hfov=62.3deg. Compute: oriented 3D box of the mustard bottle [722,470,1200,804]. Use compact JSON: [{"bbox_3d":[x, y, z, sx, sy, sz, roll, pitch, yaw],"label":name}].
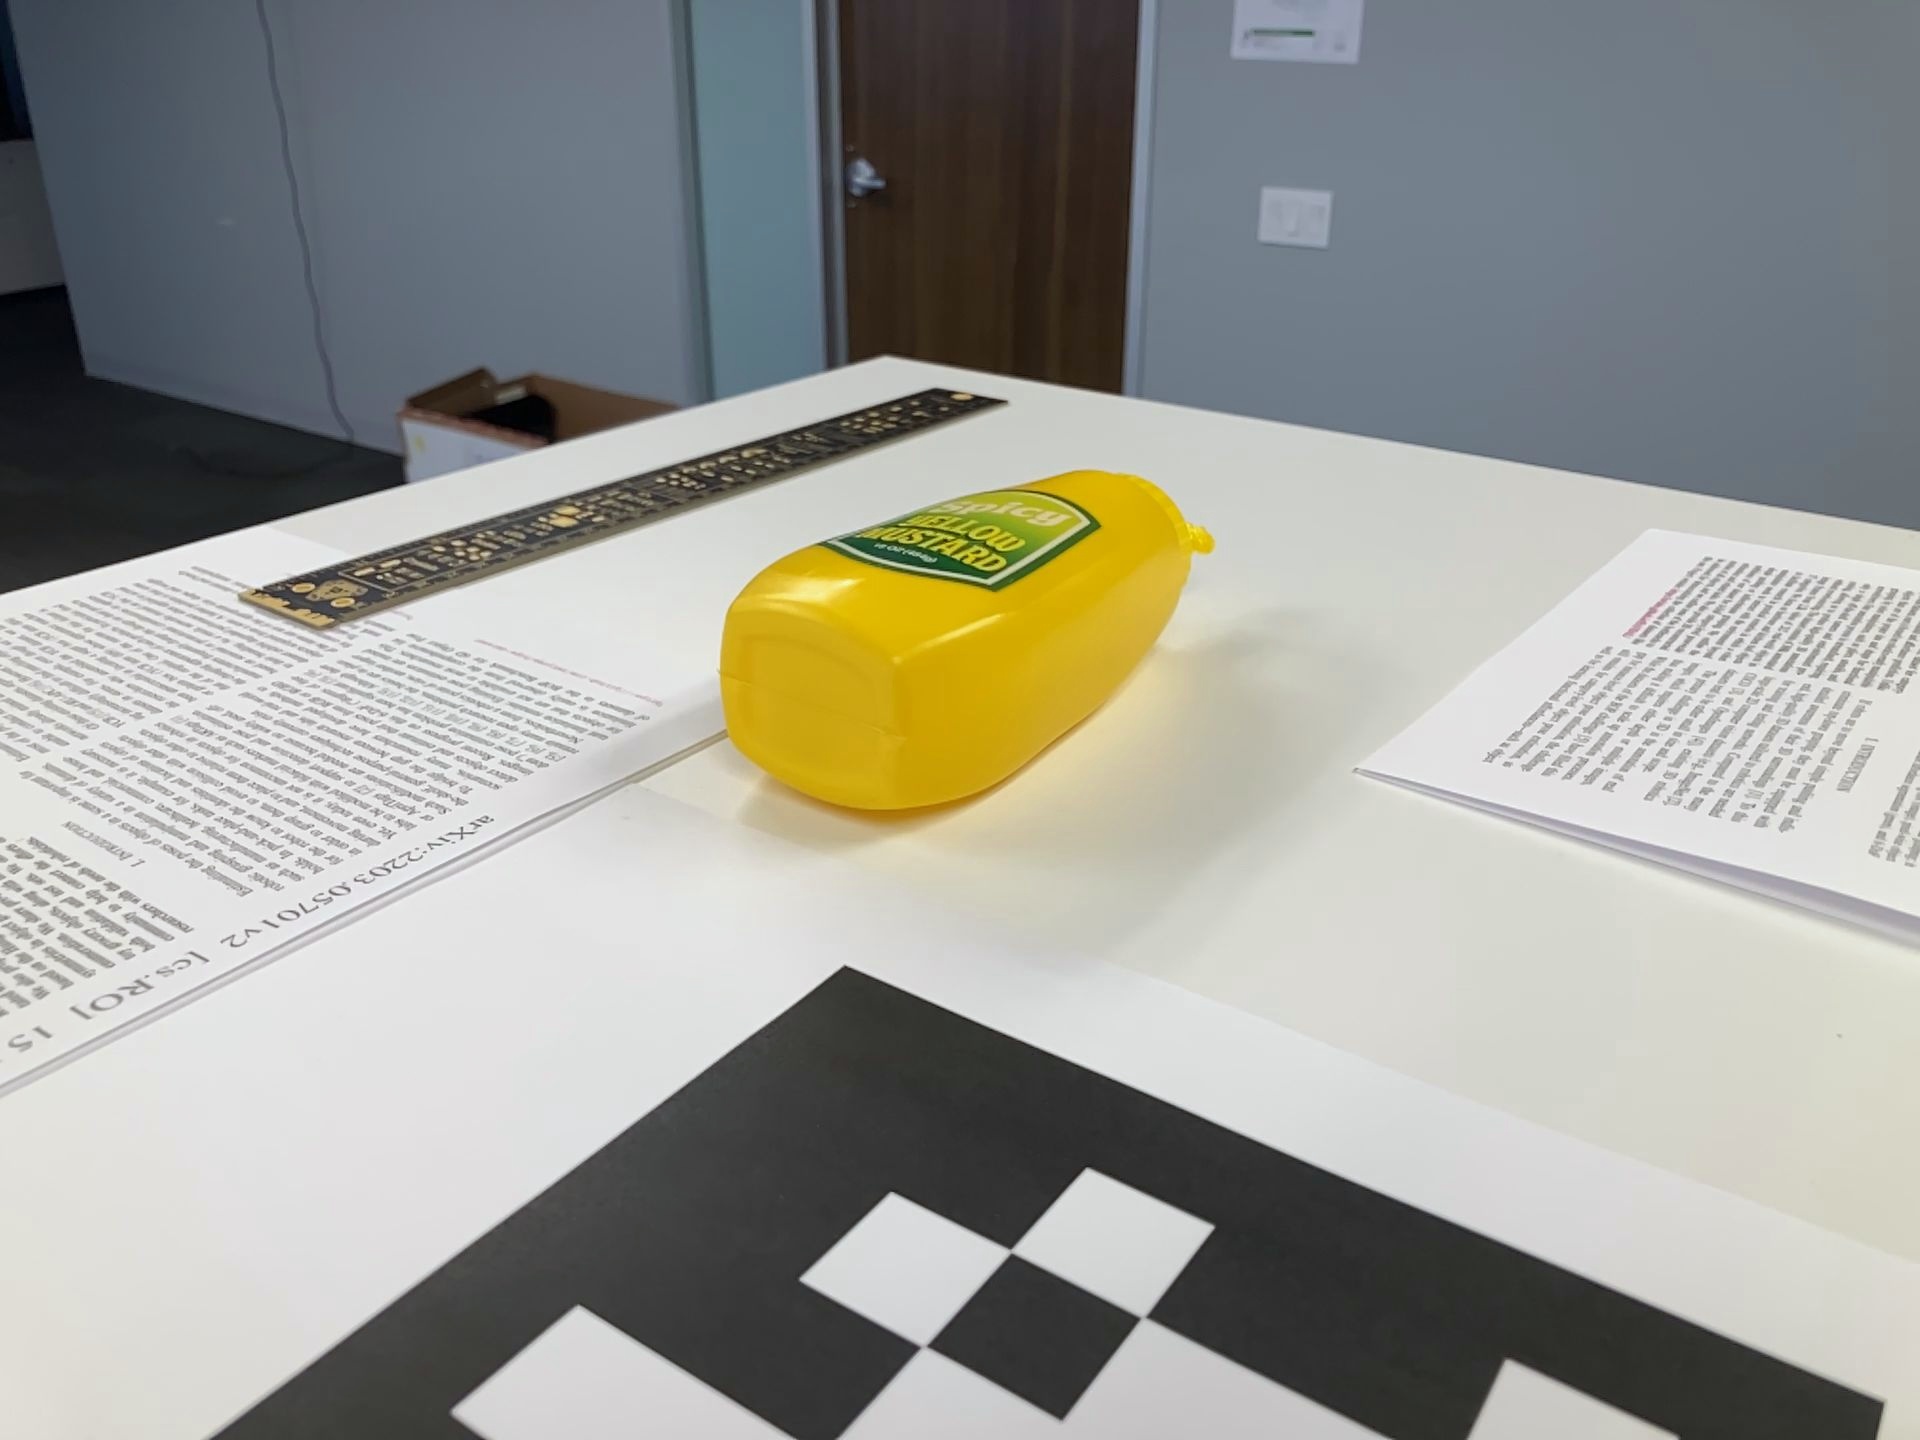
[{"bbox_3d":[0.015,-0.029,0.376,0.065,0.049,0.160,18,29,30],"label":"mustard bottle"}]
